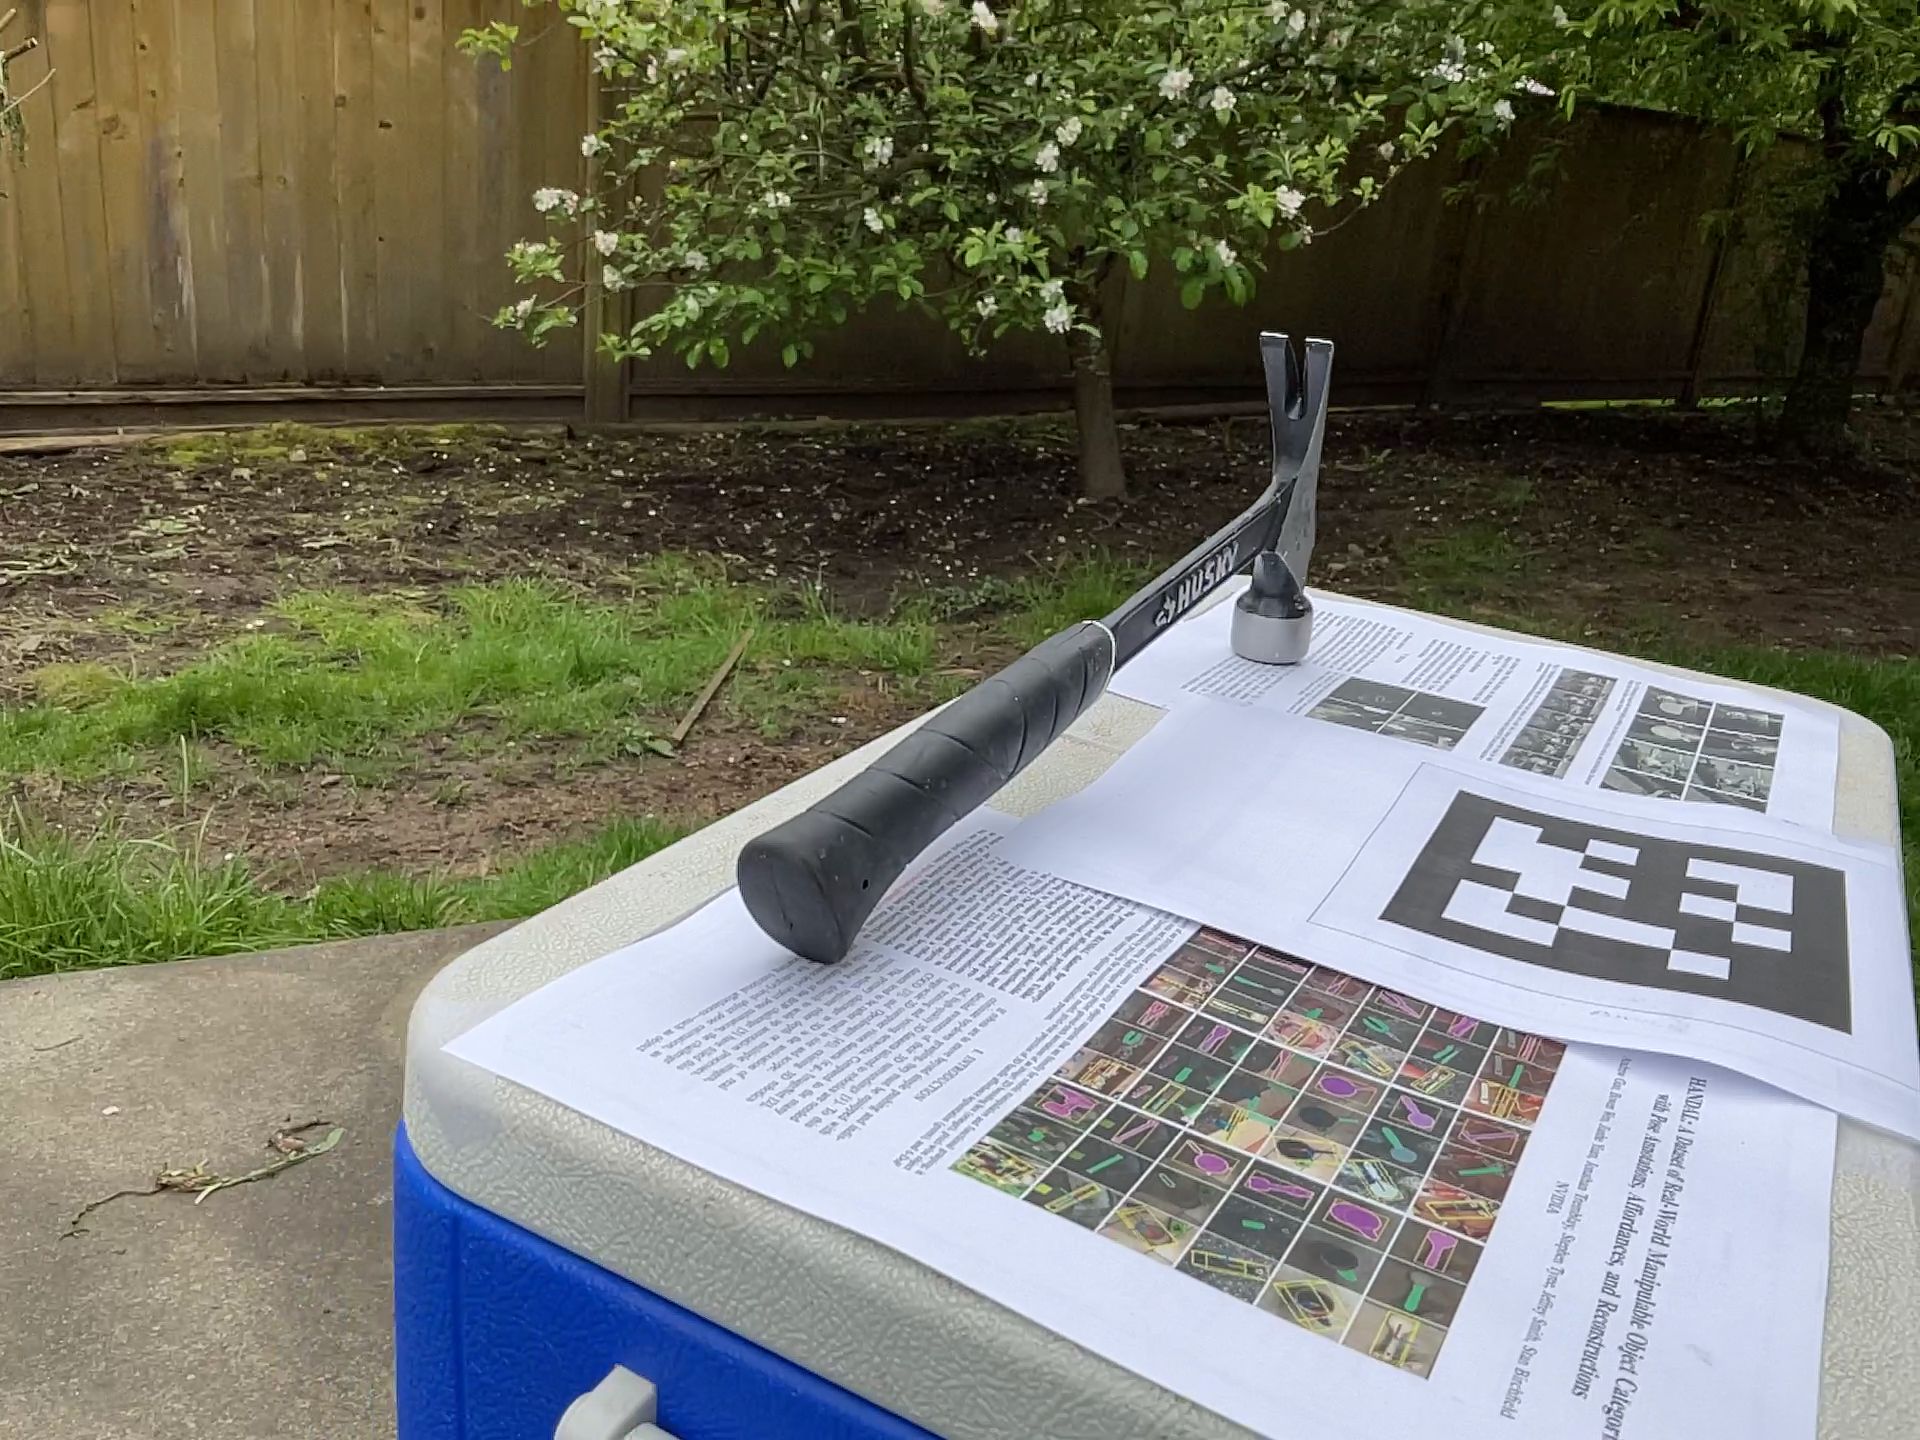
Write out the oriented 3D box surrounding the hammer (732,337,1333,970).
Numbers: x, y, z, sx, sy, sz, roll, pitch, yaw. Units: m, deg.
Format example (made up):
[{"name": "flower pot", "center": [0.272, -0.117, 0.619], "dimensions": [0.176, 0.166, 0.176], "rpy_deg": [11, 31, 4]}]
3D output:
[{"name": "hammer", "center": [0.053, -0.029, 0.558], "dimensions": [0.036, 0.149, 0.409], "rpy_deg": [15, 28, 26]}]
